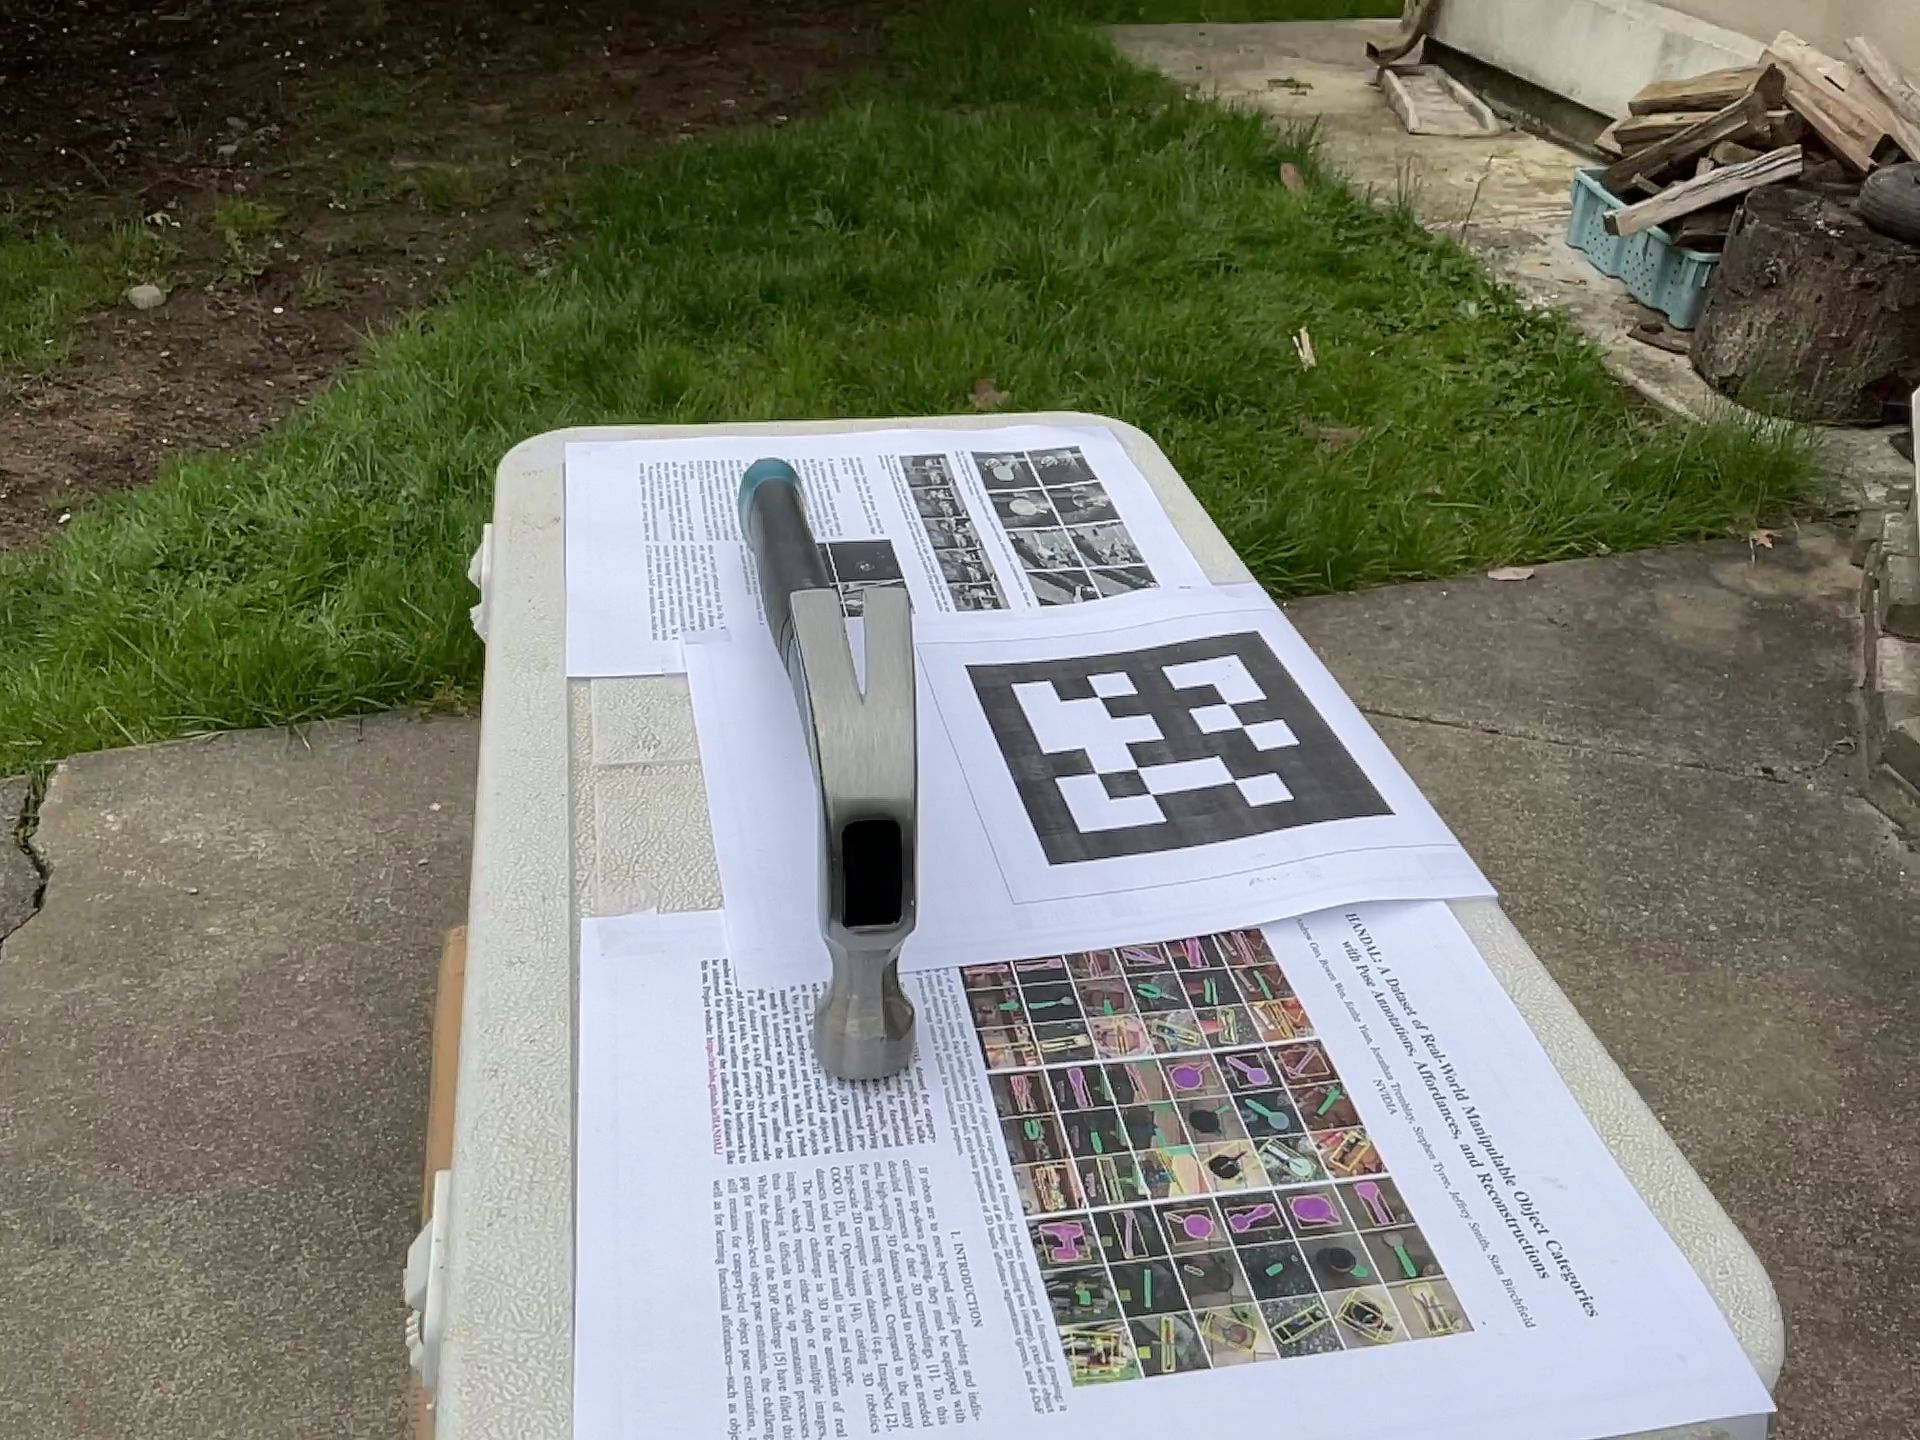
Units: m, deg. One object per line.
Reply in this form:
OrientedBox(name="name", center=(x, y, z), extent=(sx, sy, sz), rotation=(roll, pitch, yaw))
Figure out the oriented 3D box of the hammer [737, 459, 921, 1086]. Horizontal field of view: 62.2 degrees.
OrientedBox(name="hammer", center=(-0.054, -0.025, 0.565), extent=(0.033, 0.128, 0.331), rotation=(-2, 26, -11))
